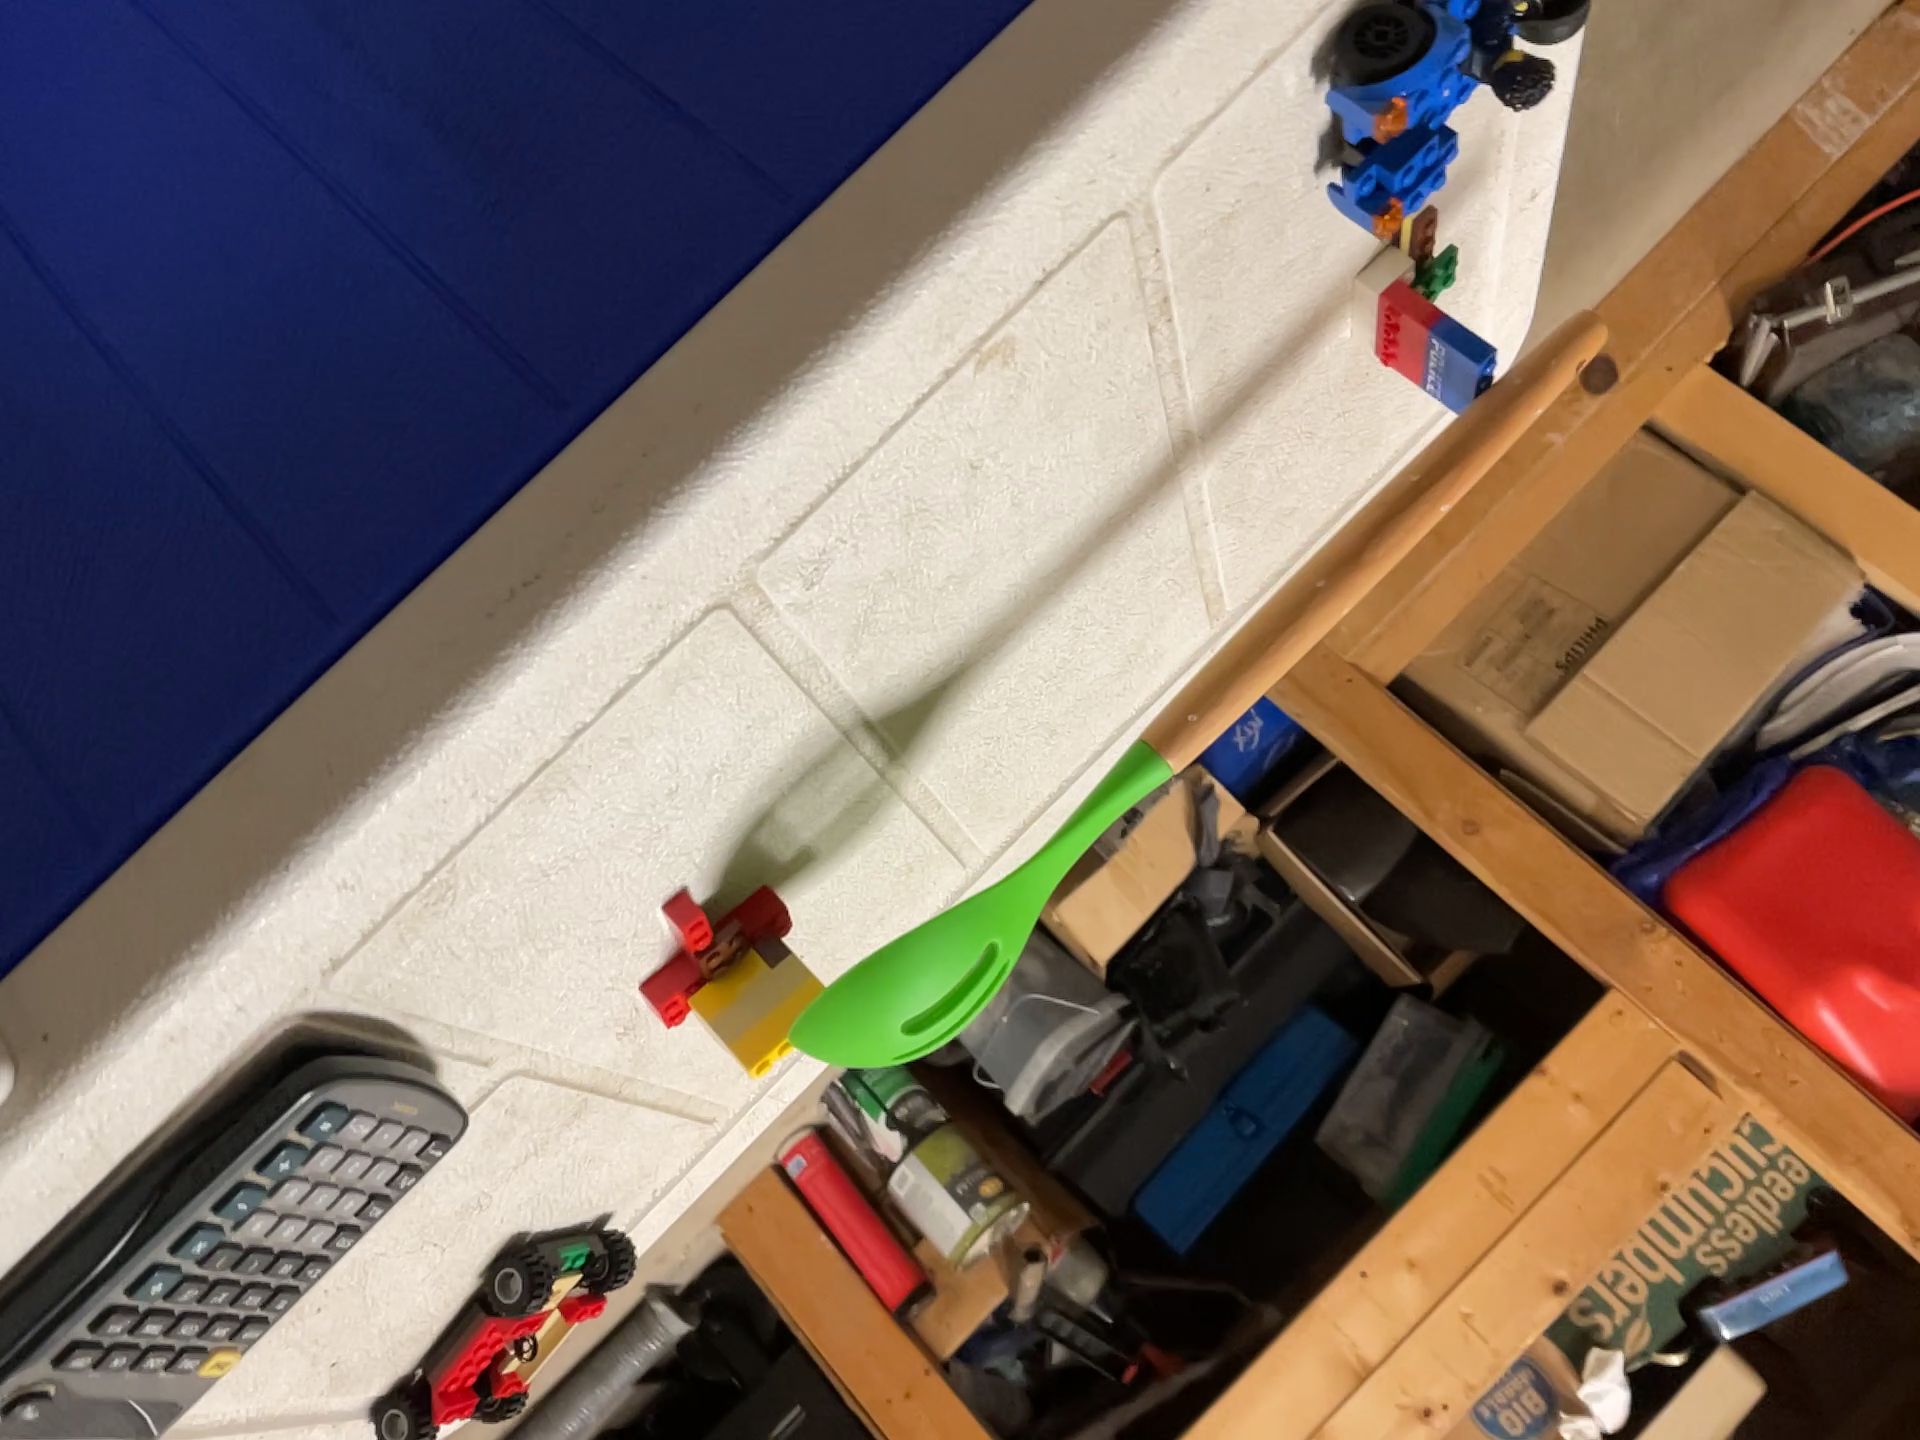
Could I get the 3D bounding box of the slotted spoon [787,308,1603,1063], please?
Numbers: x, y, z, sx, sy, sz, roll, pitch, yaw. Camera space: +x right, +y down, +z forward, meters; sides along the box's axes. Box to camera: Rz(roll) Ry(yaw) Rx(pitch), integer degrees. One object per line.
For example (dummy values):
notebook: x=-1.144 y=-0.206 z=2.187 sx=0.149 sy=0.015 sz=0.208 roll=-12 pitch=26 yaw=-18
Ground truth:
slotted spoon: x=0.074 y=-0.009 z=0.461 sx=0.314 sy=0.031 sz=0.070 roll=-44 pitch=156 yaw=-4
